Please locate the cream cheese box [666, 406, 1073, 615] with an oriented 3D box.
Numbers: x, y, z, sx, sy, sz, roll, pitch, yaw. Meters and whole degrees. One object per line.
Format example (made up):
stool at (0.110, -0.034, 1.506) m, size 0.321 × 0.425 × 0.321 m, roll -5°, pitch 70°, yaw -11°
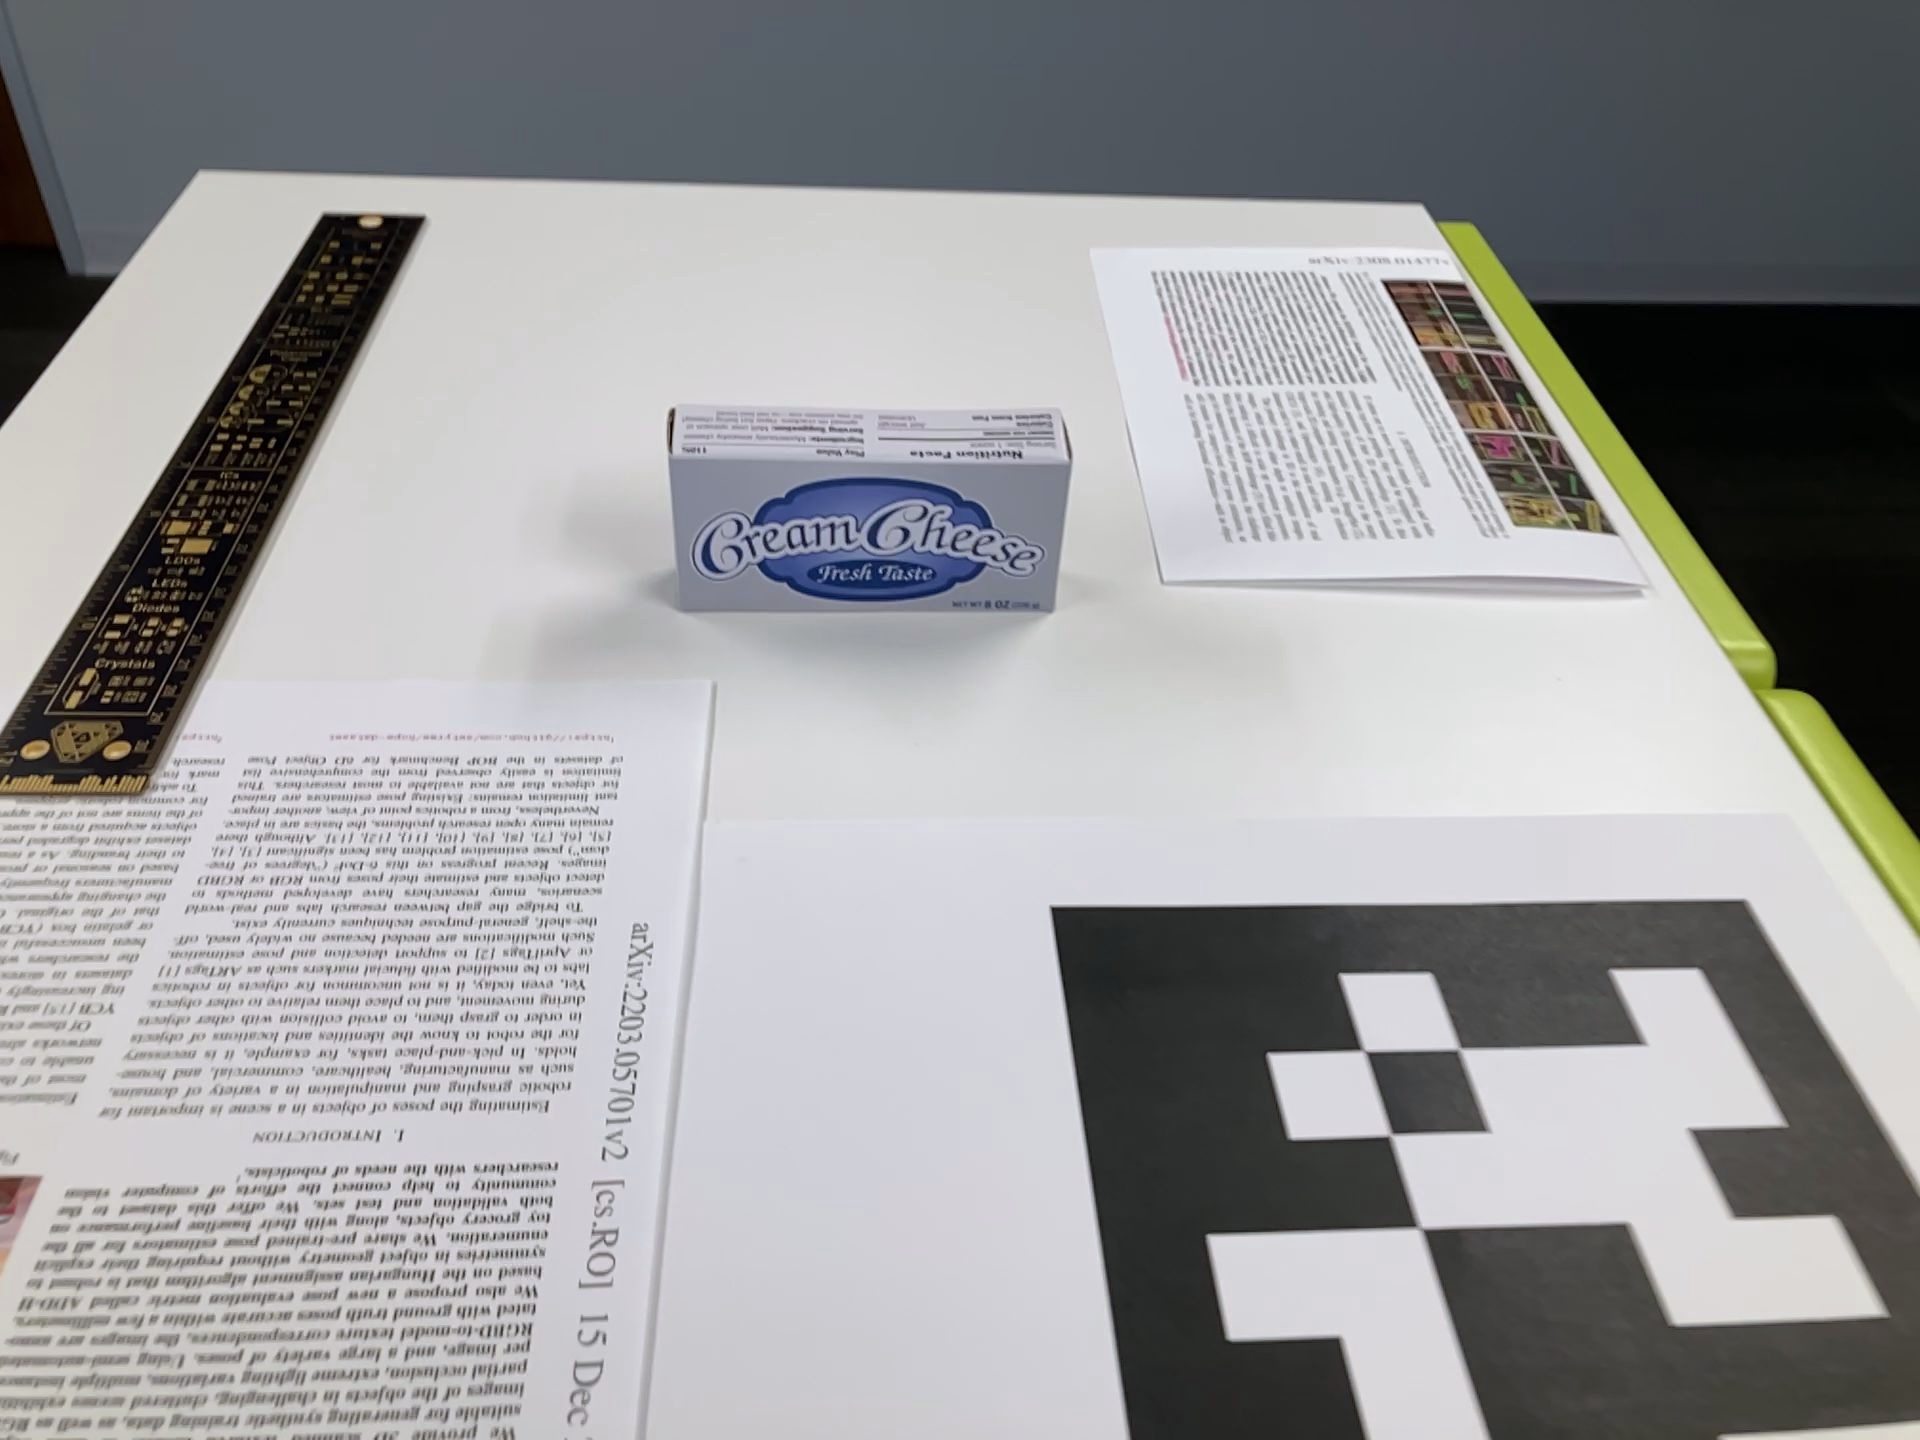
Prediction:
cream cheese box at (-0.024, -0.055, 0.421) m, size 0.104 × 0.053 × 0.024 m, roll -1°, pitch 43°, yaw -5°
